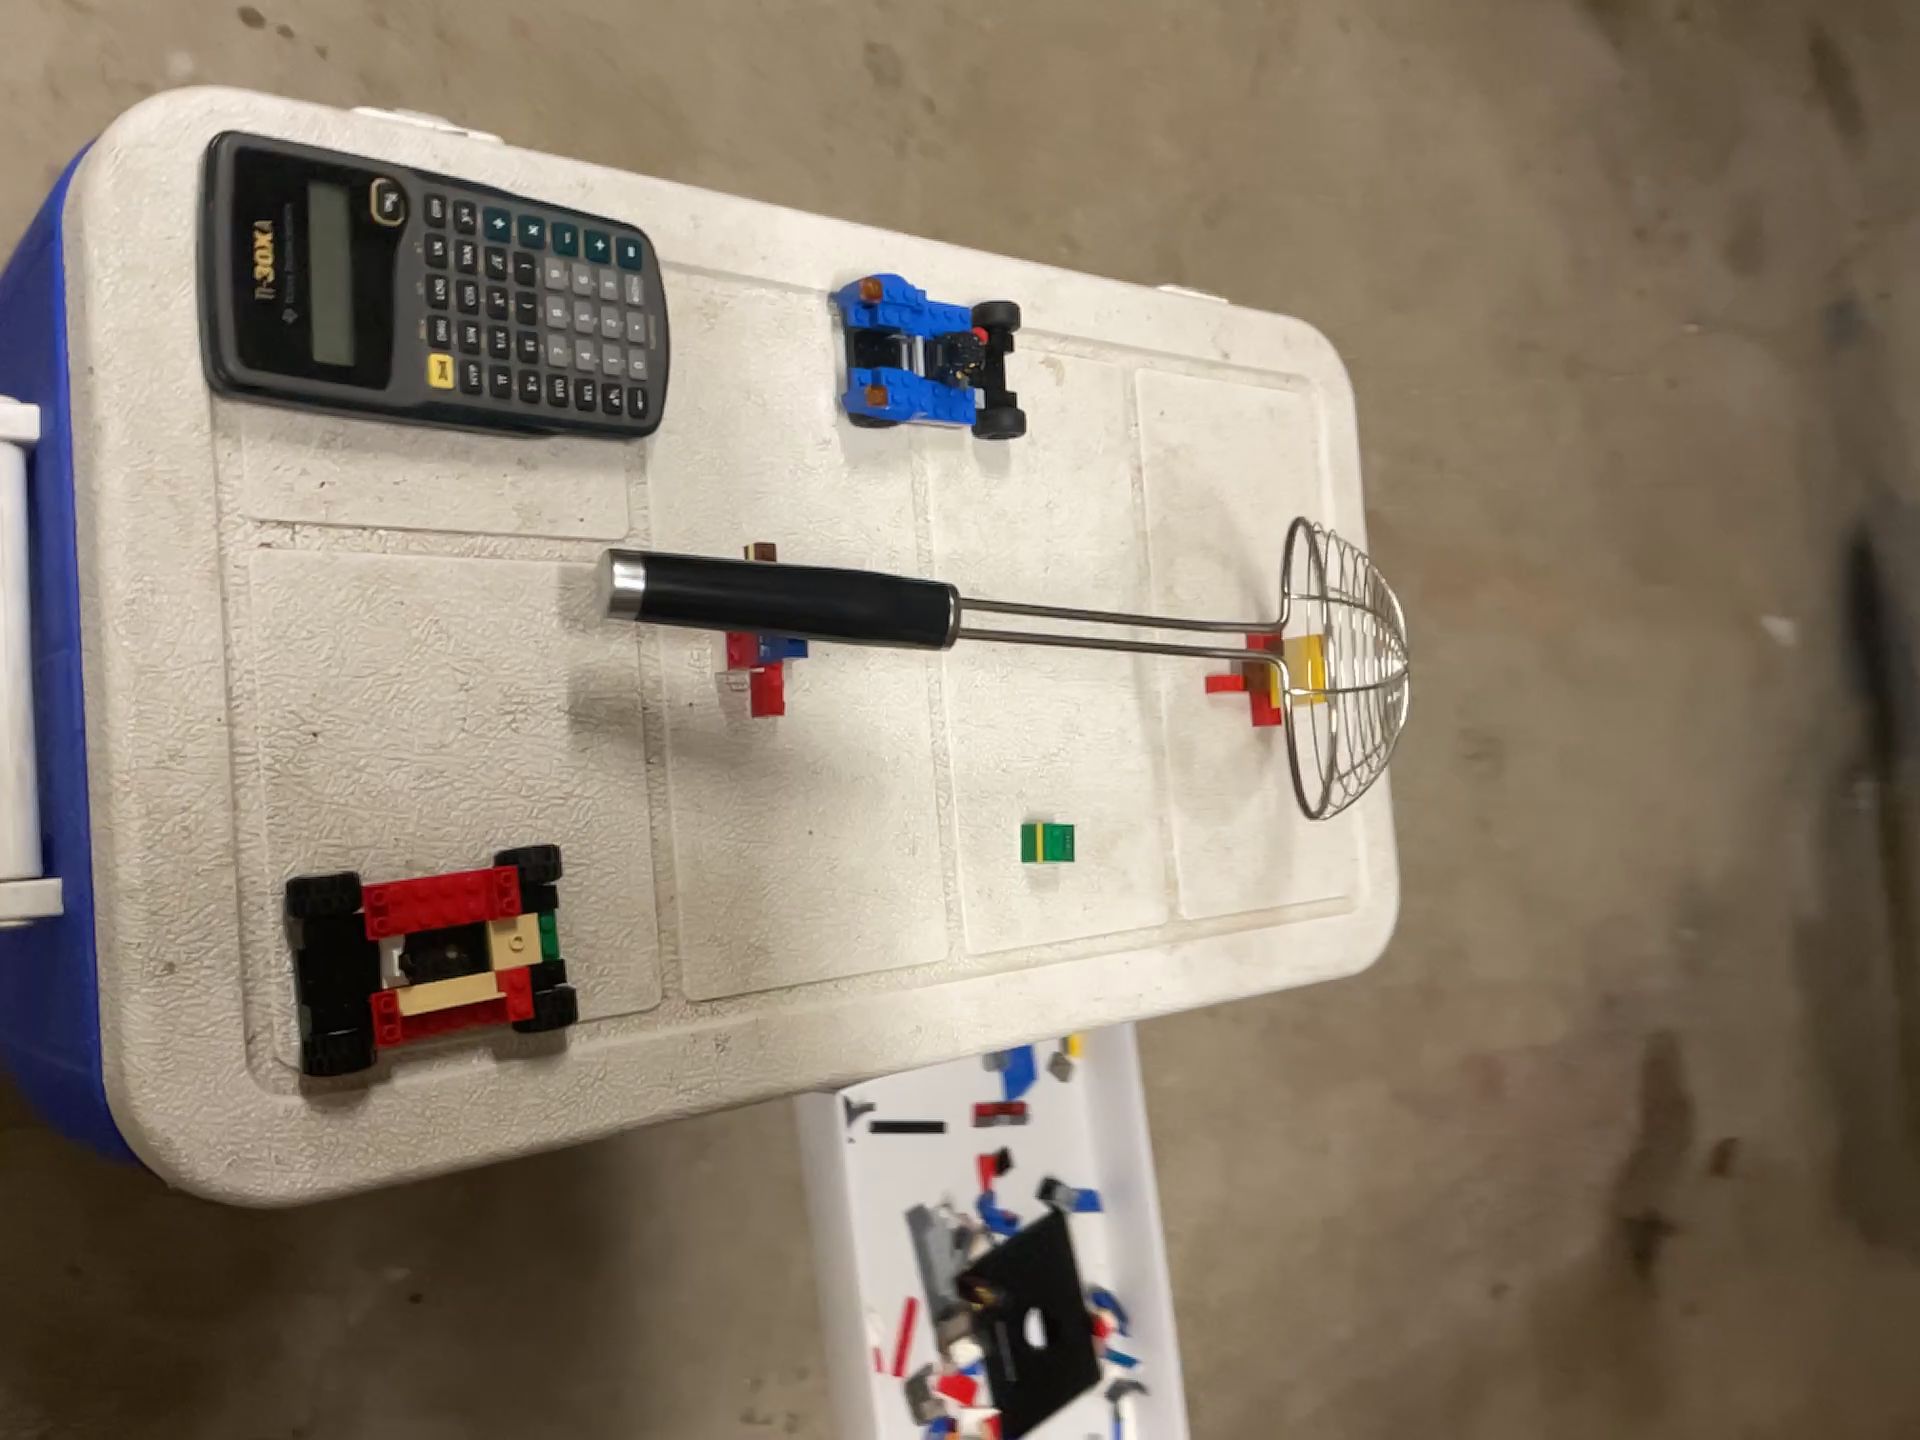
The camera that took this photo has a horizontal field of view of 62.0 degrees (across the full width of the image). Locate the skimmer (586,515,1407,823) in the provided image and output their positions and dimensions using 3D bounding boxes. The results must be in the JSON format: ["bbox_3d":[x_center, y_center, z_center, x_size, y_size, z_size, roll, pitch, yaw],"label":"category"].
[{"bbox_3d":[0.033,-0.029,0.602,0.363,0.090,0.127,3,83,-29],"label":"skimmer"}]
